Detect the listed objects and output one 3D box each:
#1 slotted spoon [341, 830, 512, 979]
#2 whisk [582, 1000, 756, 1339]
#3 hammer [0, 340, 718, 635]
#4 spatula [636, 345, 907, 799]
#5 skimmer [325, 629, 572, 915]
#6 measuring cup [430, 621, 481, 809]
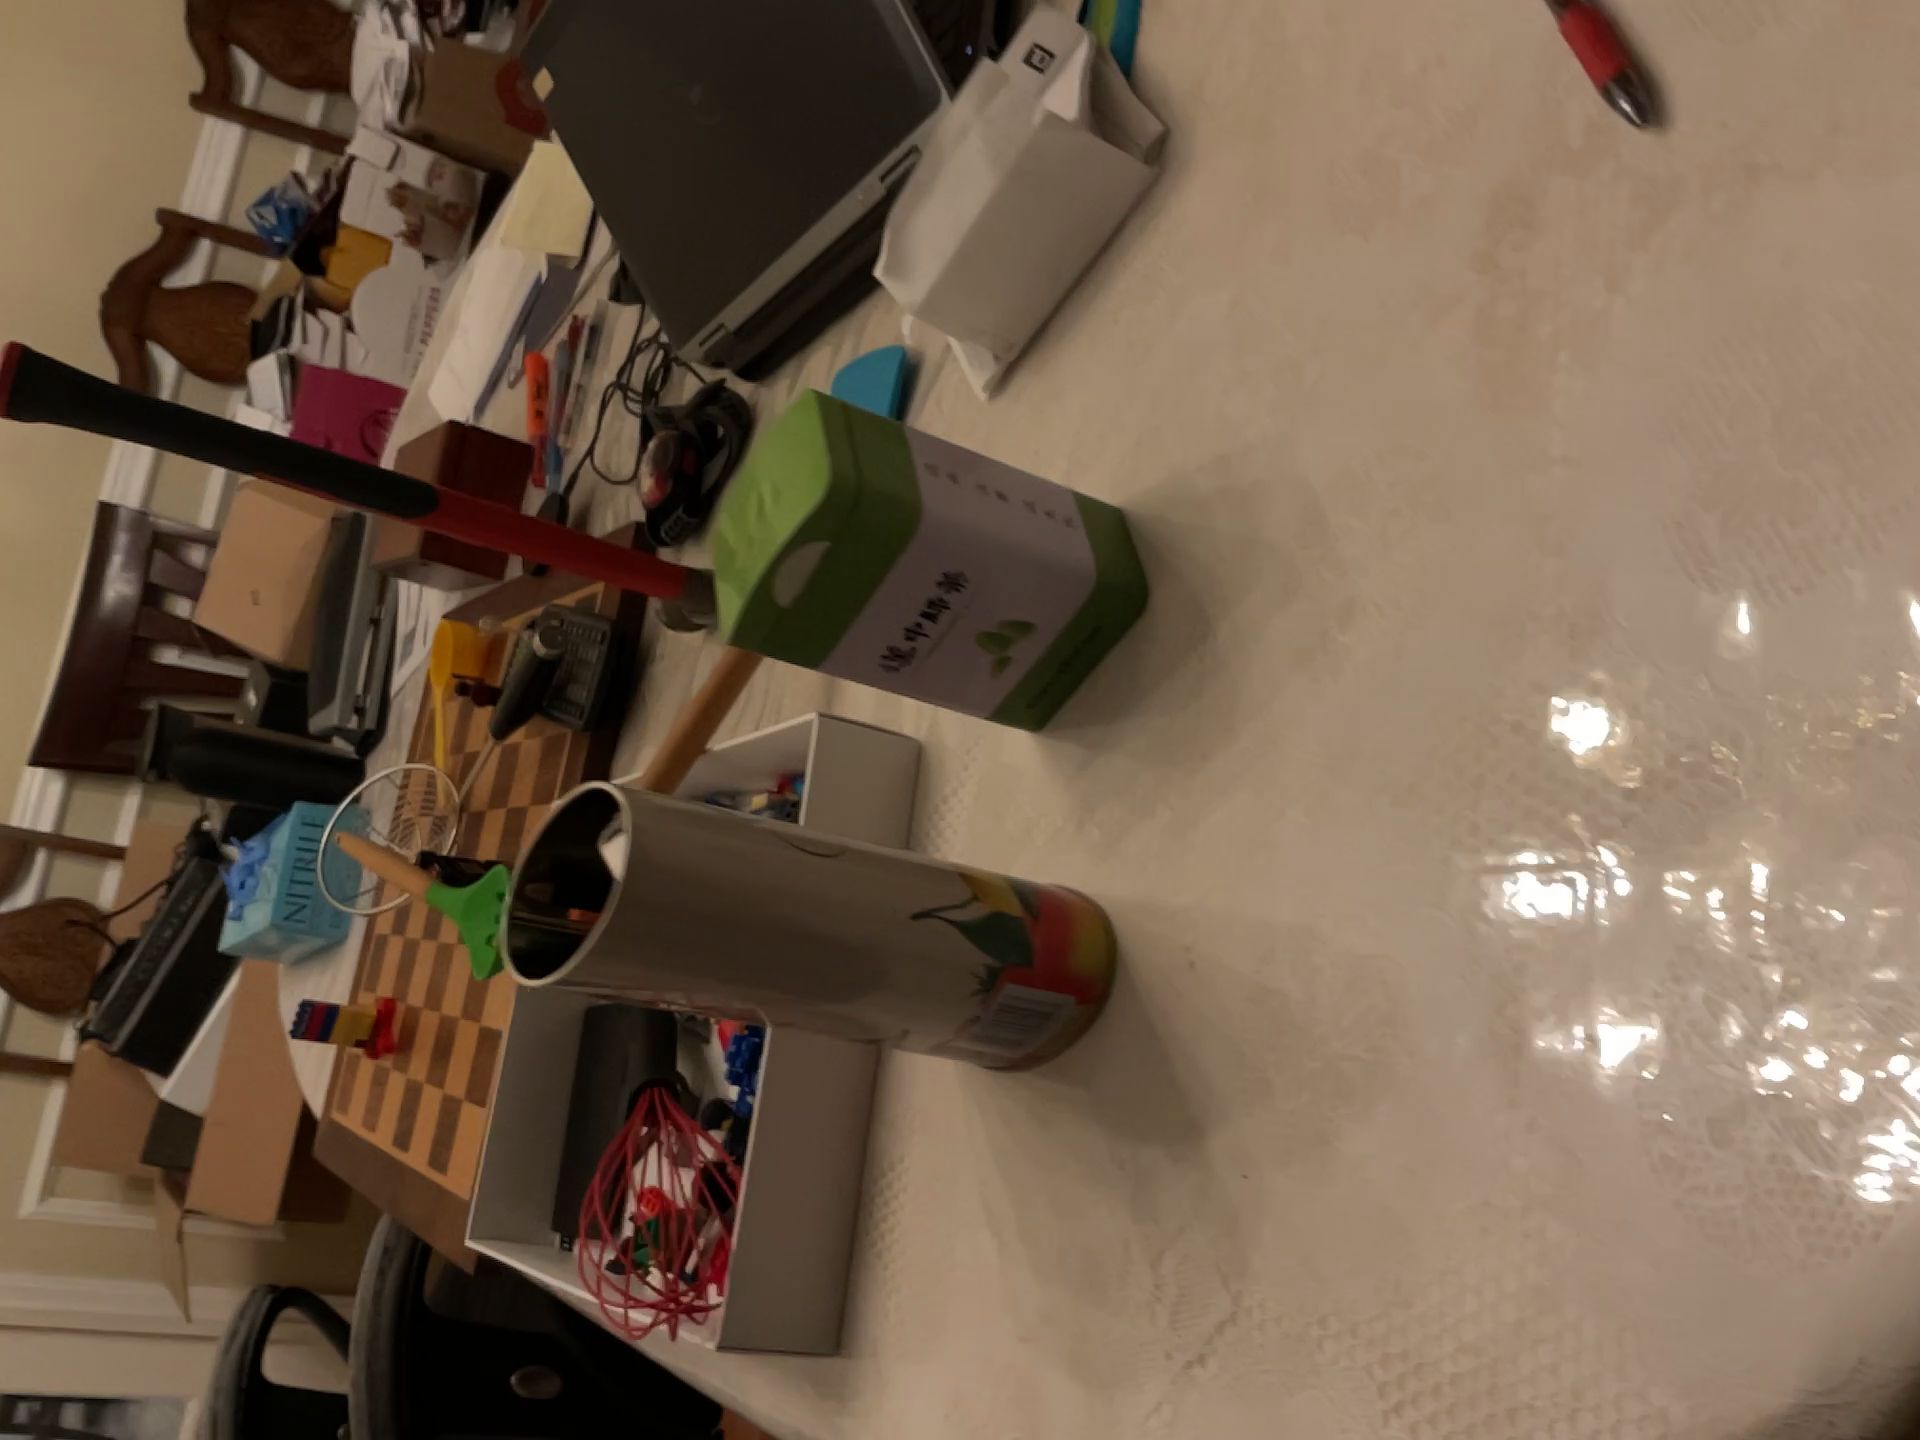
[{"bbox_3d":[-0.353,0.106,1.050,0.314,0.031,0.070,12,88,51],"label":"slotted spoon"},{"bbox_3d":[-0.139,0.188,0.742,0.073,0.073,0.296,-50,19,5],"label":"whisk"},{"bbox_3d":[-0.279,-0.115,0.823,0.143,0.385,0.038,-4,72,59],"label":"hammer"},{"bbox_3d":[-0.109,-0.049,0.795,0.082,0.044,0.317,2,57,58],"label":"spatula"},{"bbox_3d":[-0.377,0.030,1.152,0.363,0.090,0.127,-44,39,47],"label":"skimmer"},{"bbox_3d":[-0.419,-0.004,1.322,0.062,0.029,0.156,-8,82,54],"label":"measuring cup"}]
